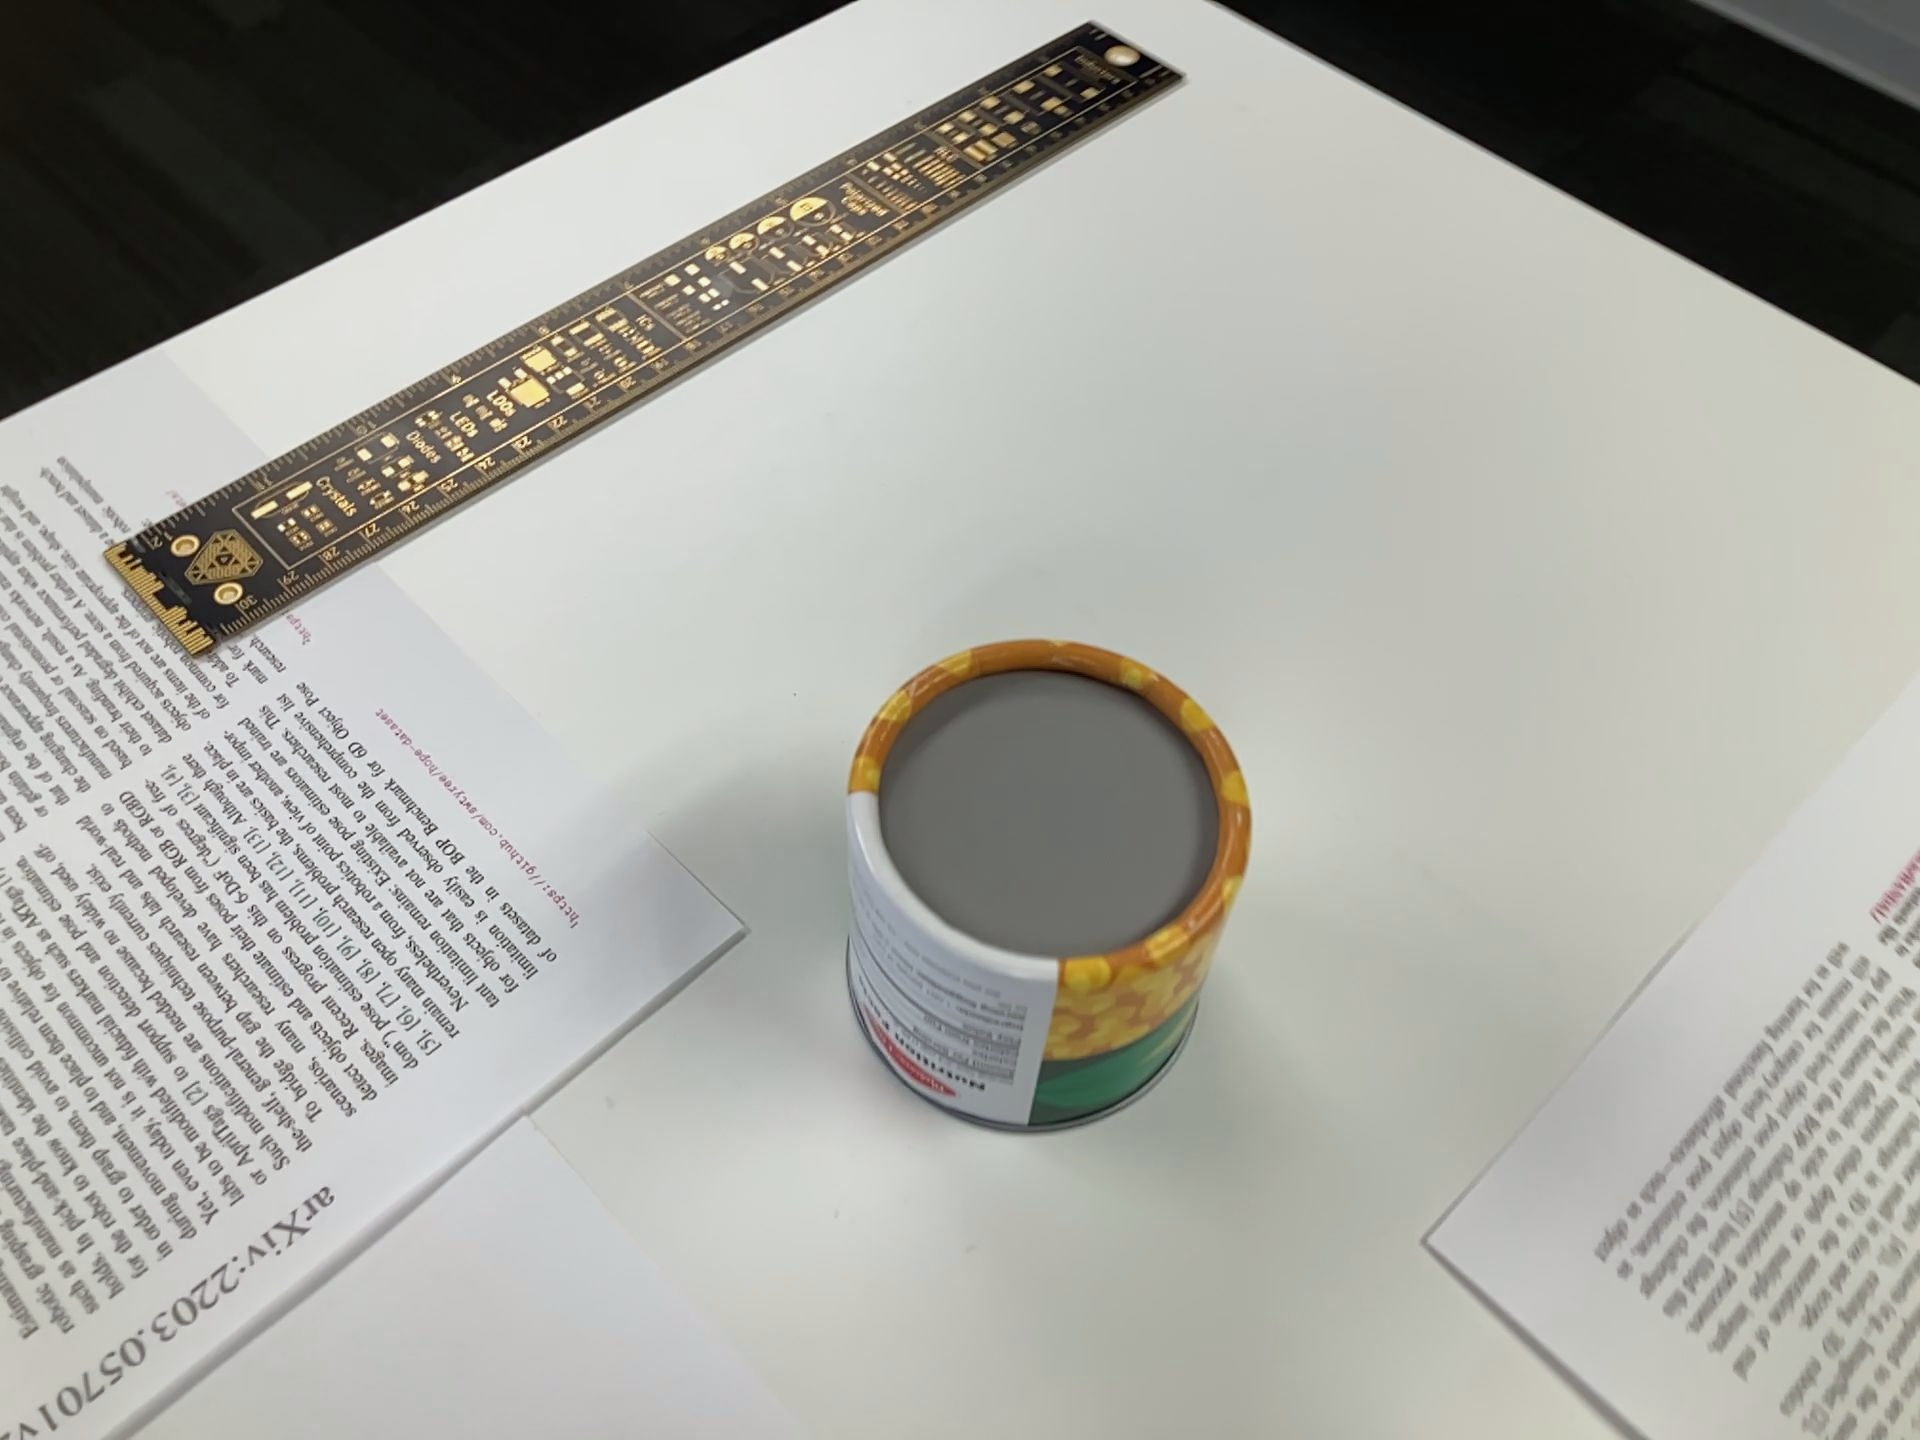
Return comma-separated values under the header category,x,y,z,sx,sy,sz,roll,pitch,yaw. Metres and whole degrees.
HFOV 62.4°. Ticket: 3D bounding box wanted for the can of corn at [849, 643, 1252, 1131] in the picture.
category,x,y,z,sx,sy,sz,roll,pitch,yaw
can of corn,0.015,0.027,0.278,0.071,0.058,0.071,1,54,-2
